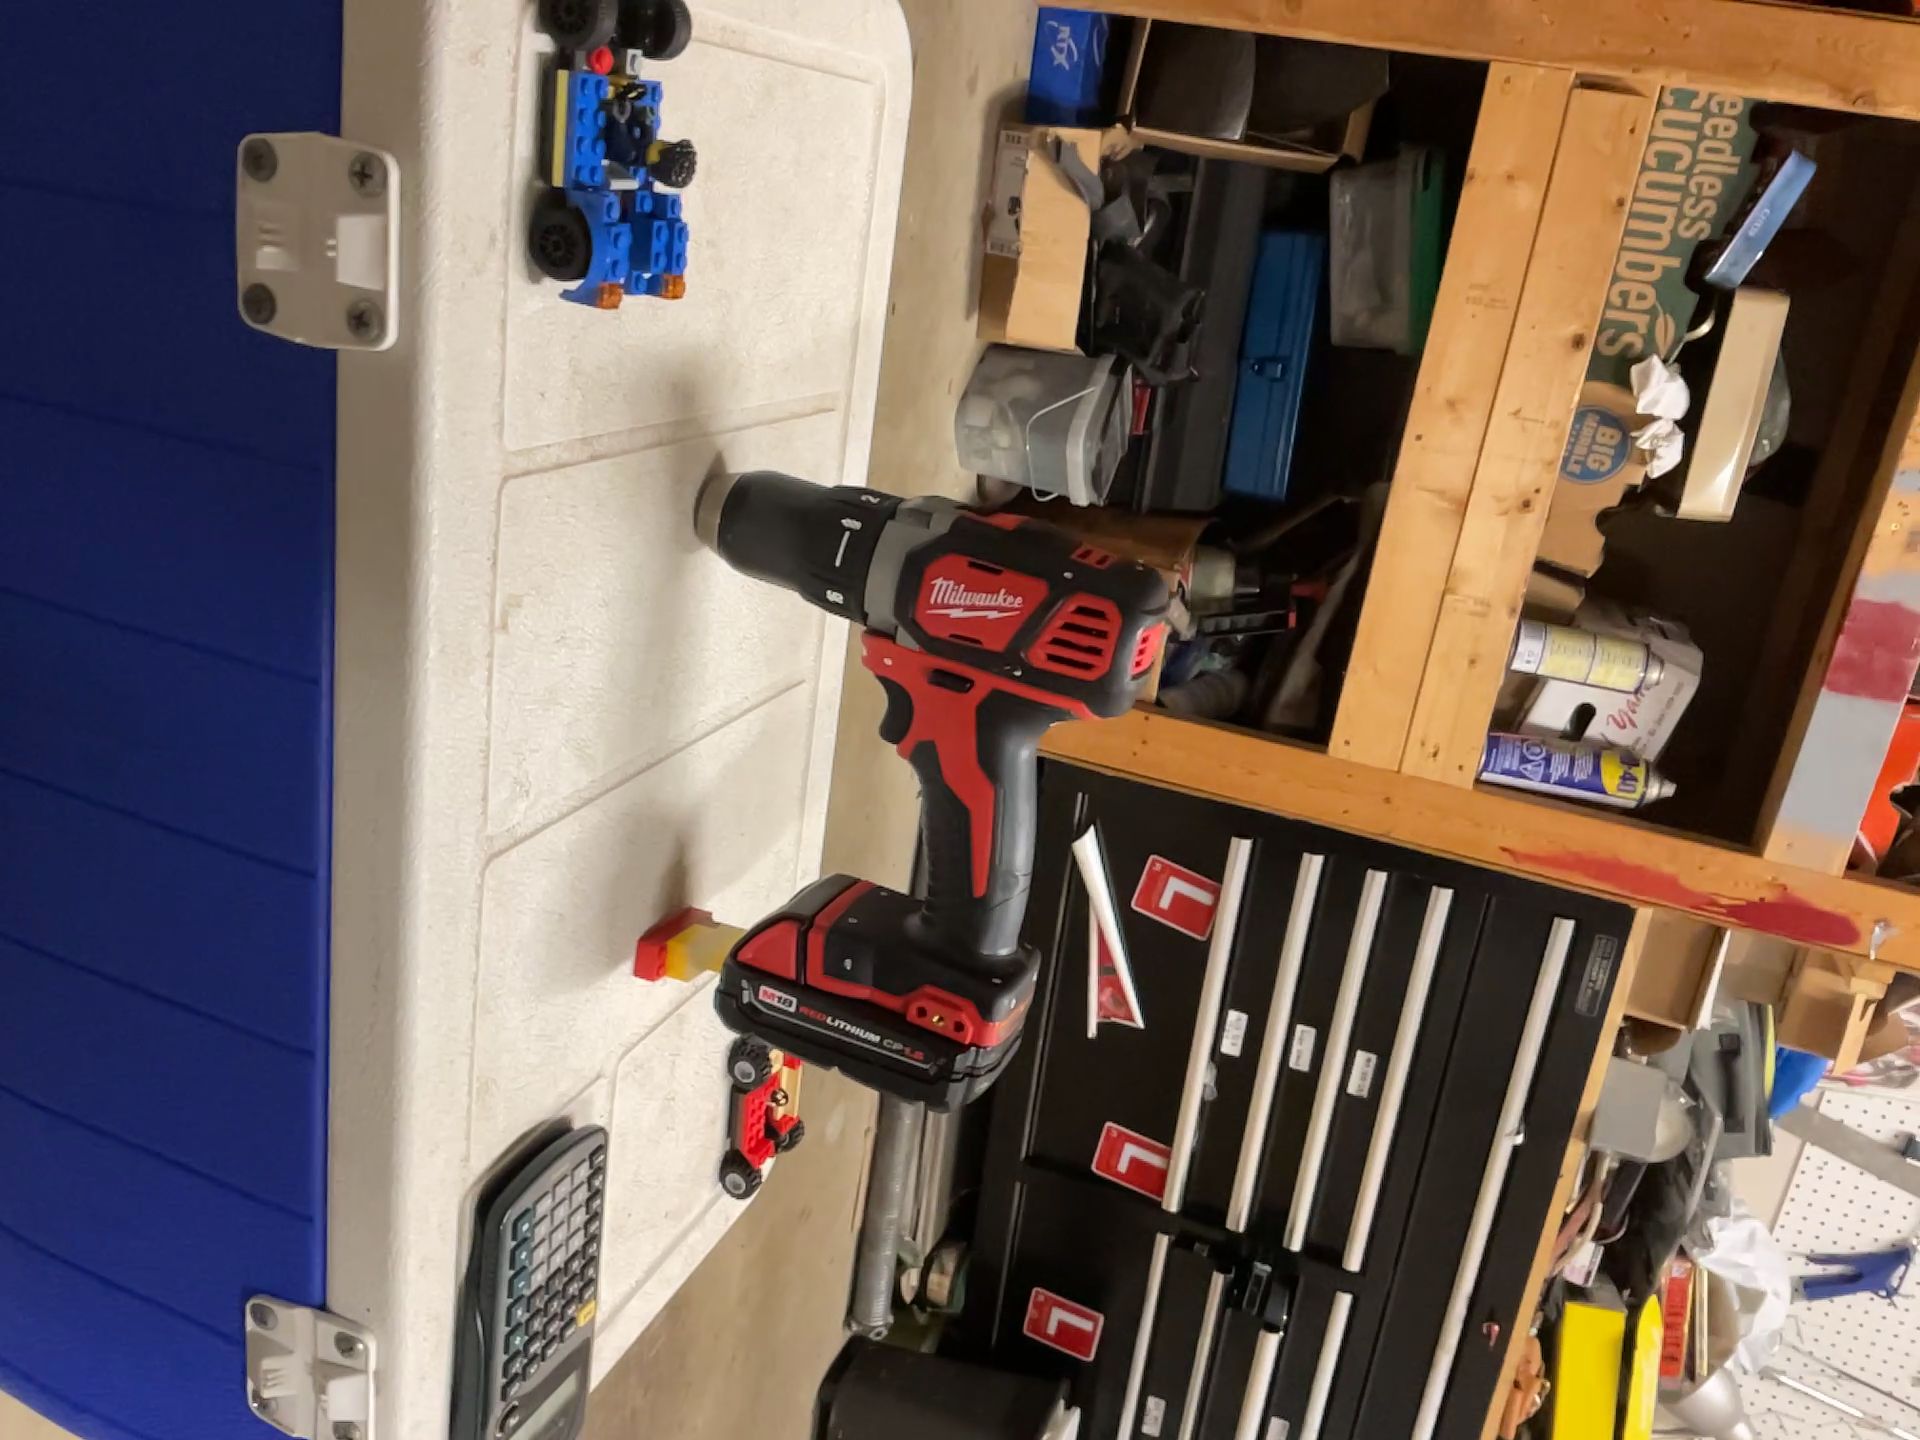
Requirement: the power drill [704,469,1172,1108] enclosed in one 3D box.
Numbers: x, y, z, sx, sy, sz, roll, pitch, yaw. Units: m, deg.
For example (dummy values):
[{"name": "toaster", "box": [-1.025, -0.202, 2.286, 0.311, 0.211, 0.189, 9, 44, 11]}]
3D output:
[{"name": "power drill", "box": [-0.032, 0.018, 0.637, 0.080, 0.188, 0.226, -29, 136, -67]}]
